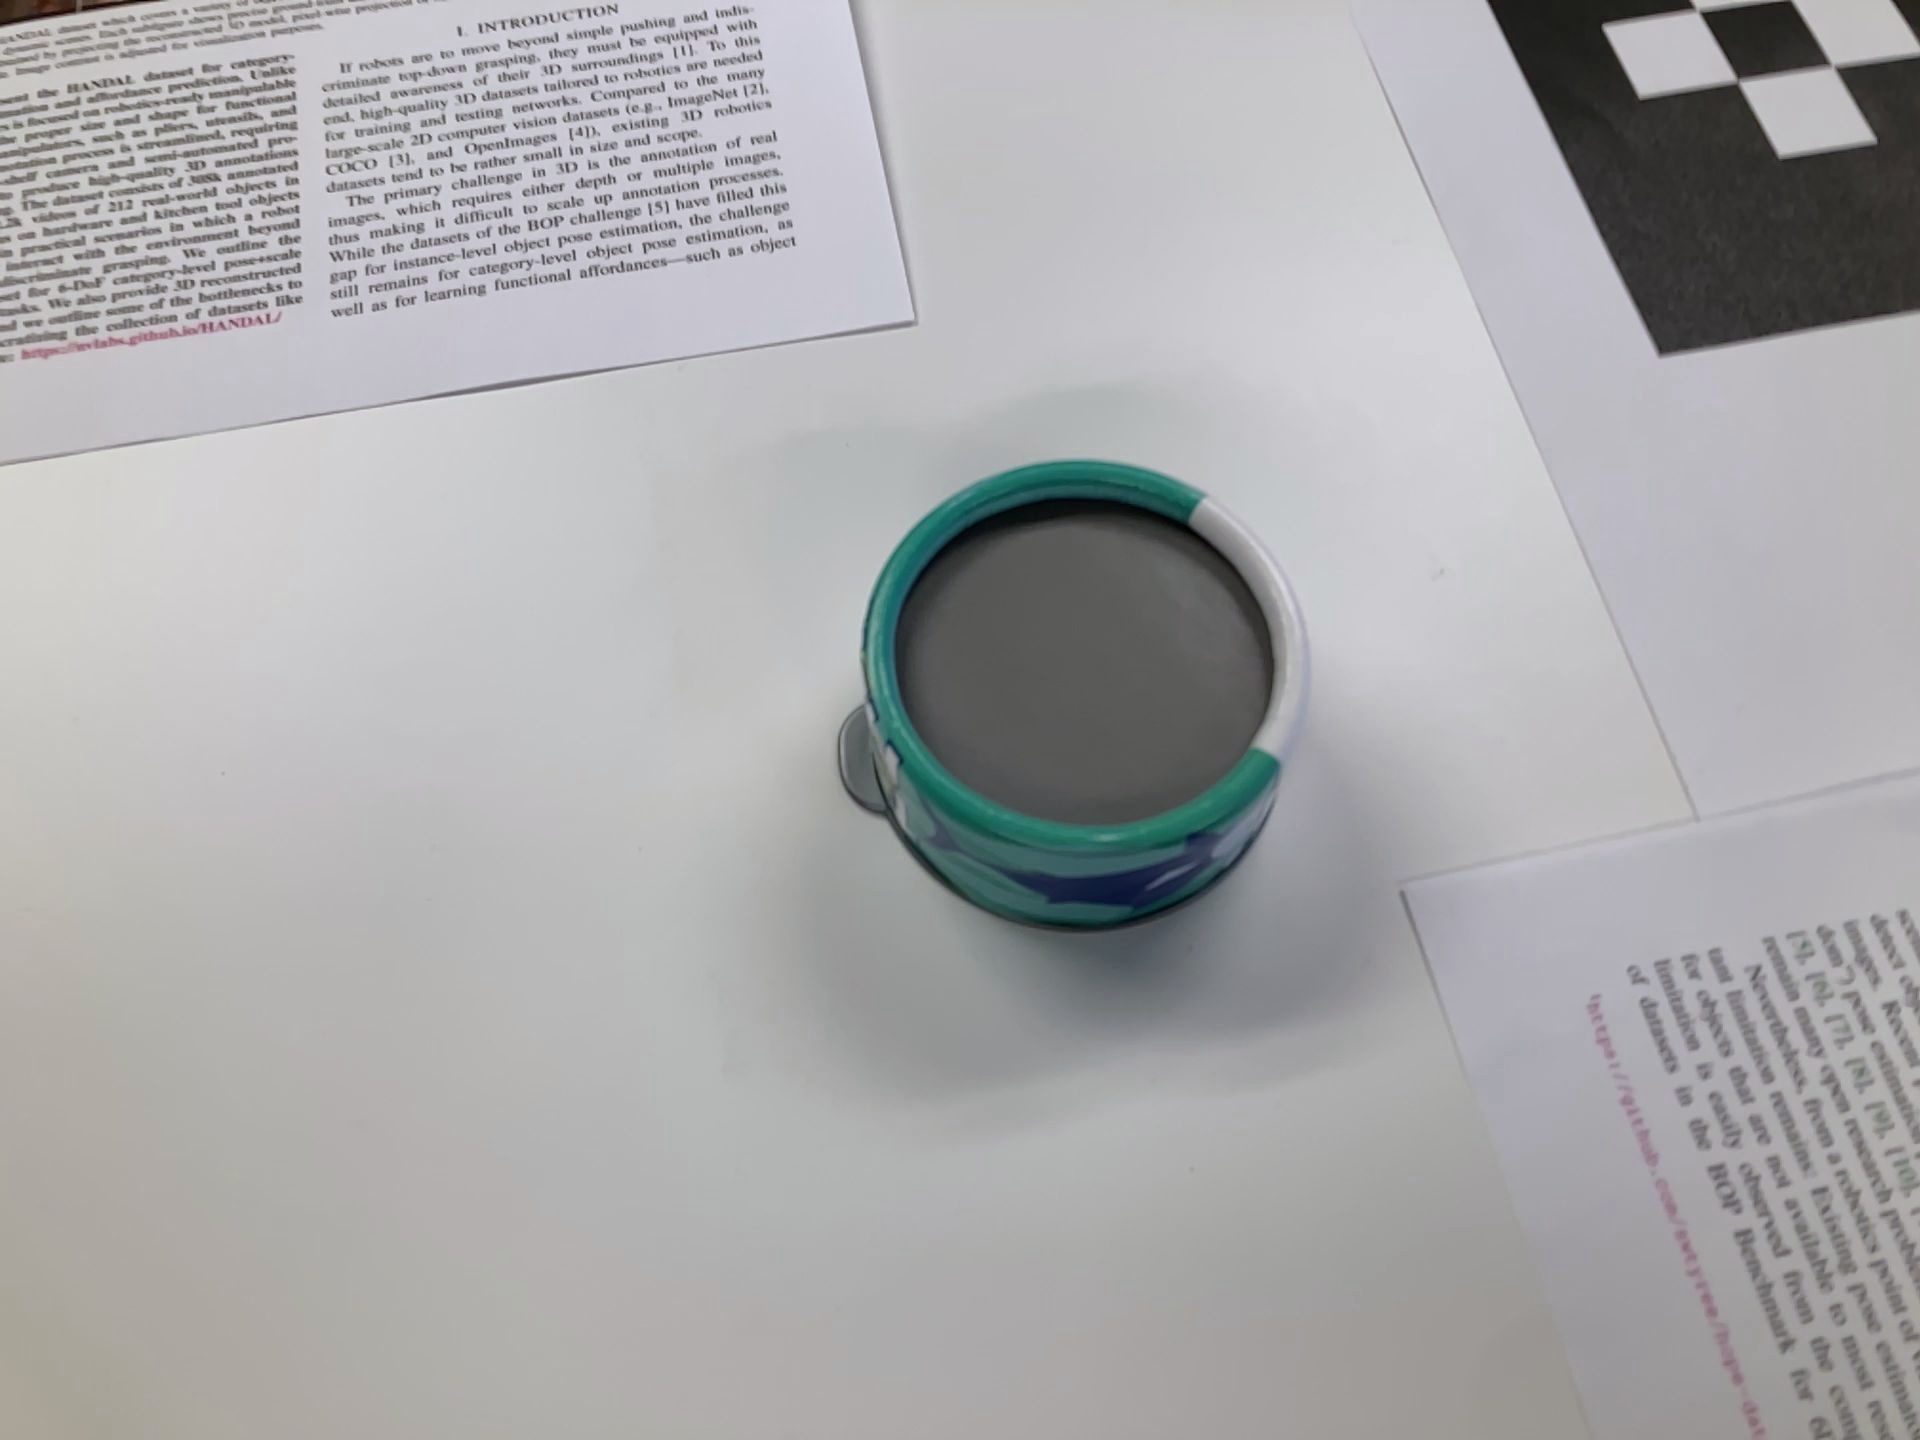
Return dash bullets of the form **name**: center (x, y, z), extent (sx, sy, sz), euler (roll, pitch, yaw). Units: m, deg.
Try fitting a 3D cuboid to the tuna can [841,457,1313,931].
- **tuna can**: center (0.016, -0.004, 0.240), extent (0.071, 0.033, 0.071), euler (-1, 63, 2)
